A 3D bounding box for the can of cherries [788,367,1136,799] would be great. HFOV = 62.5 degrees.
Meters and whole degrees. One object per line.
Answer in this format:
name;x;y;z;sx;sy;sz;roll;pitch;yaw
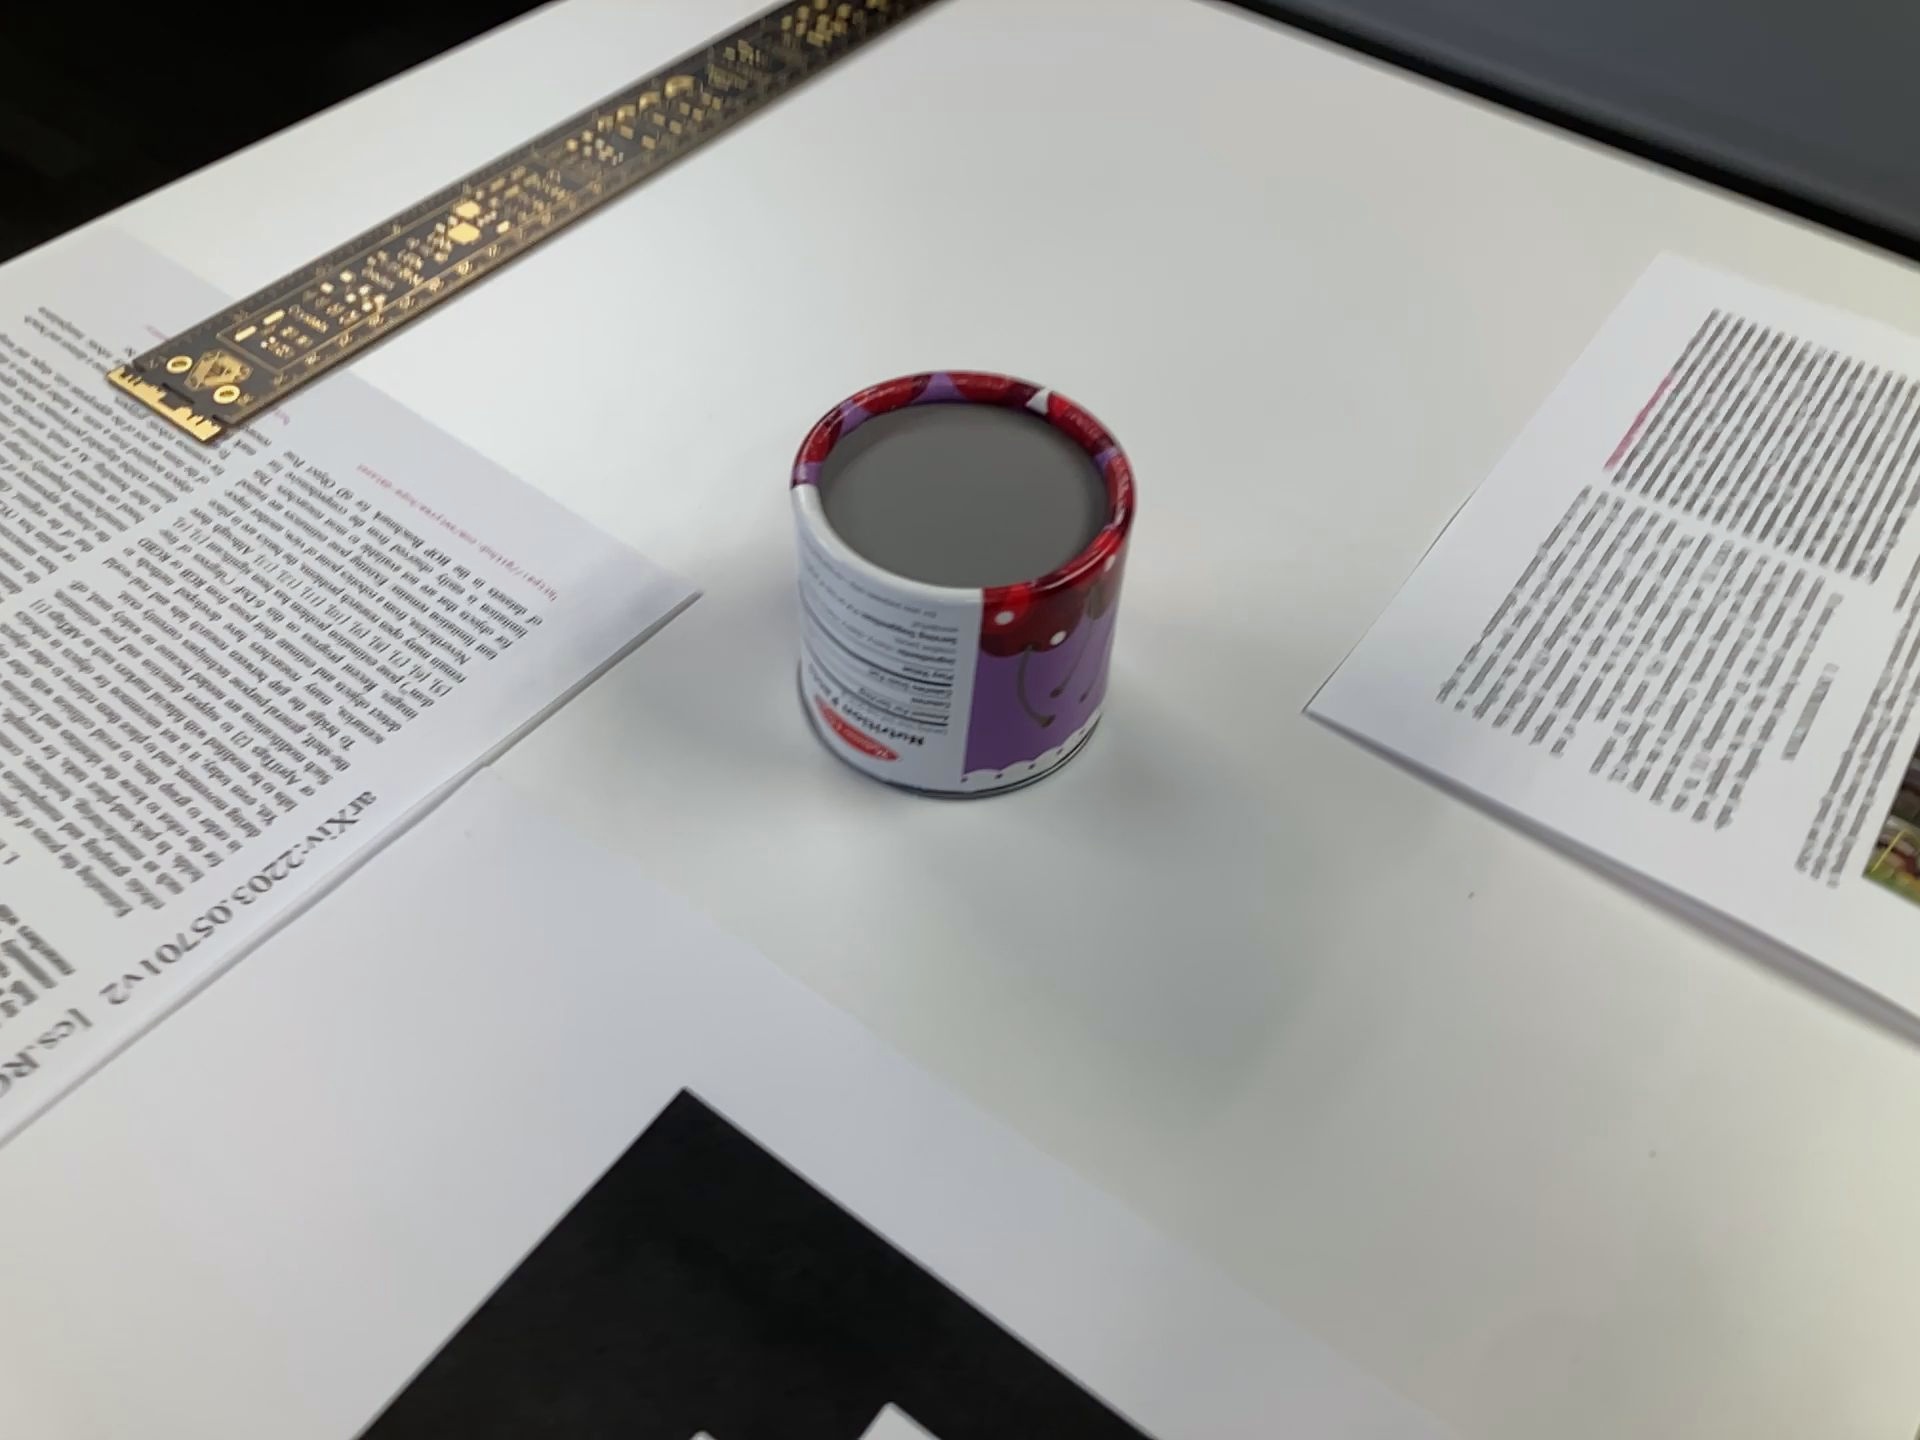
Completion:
can of cherries;0.001;-0.030;0.318;0.071;0.058;0.071;1;49;-2
